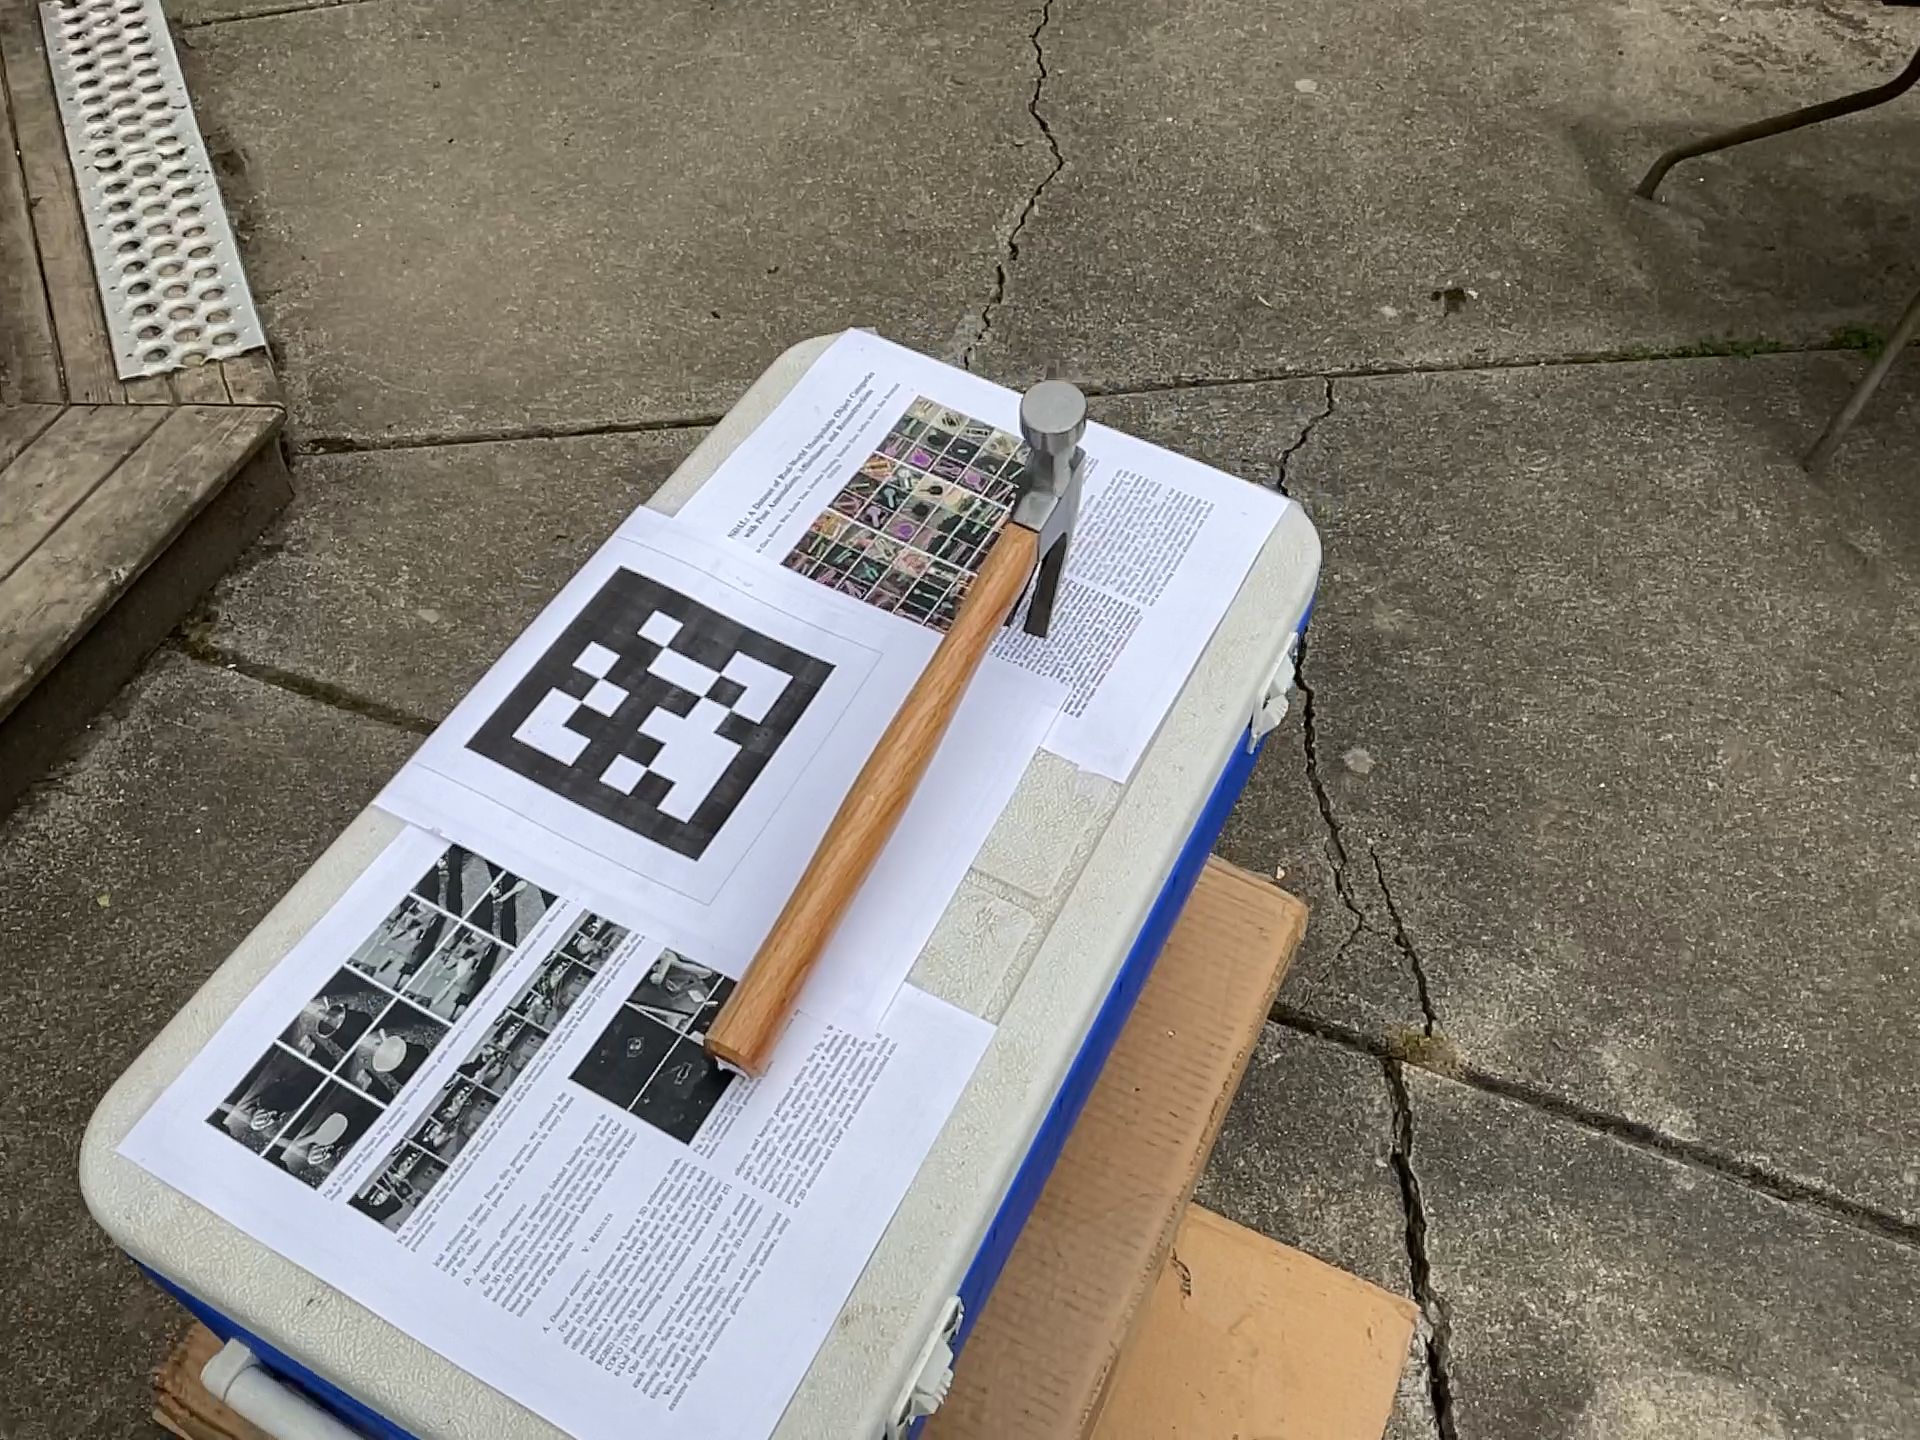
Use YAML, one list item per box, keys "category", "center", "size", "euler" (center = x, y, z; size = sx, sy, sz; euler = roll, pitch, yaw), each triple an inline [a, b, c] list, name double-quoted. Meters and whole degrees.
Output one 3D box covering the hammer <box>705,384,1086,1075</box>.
- category: "hammer"
  center: [-0.021, 0.008, 0.724]
  size: [0.031, 0.130, 0.331]
  euler: [22, 66, 15]
